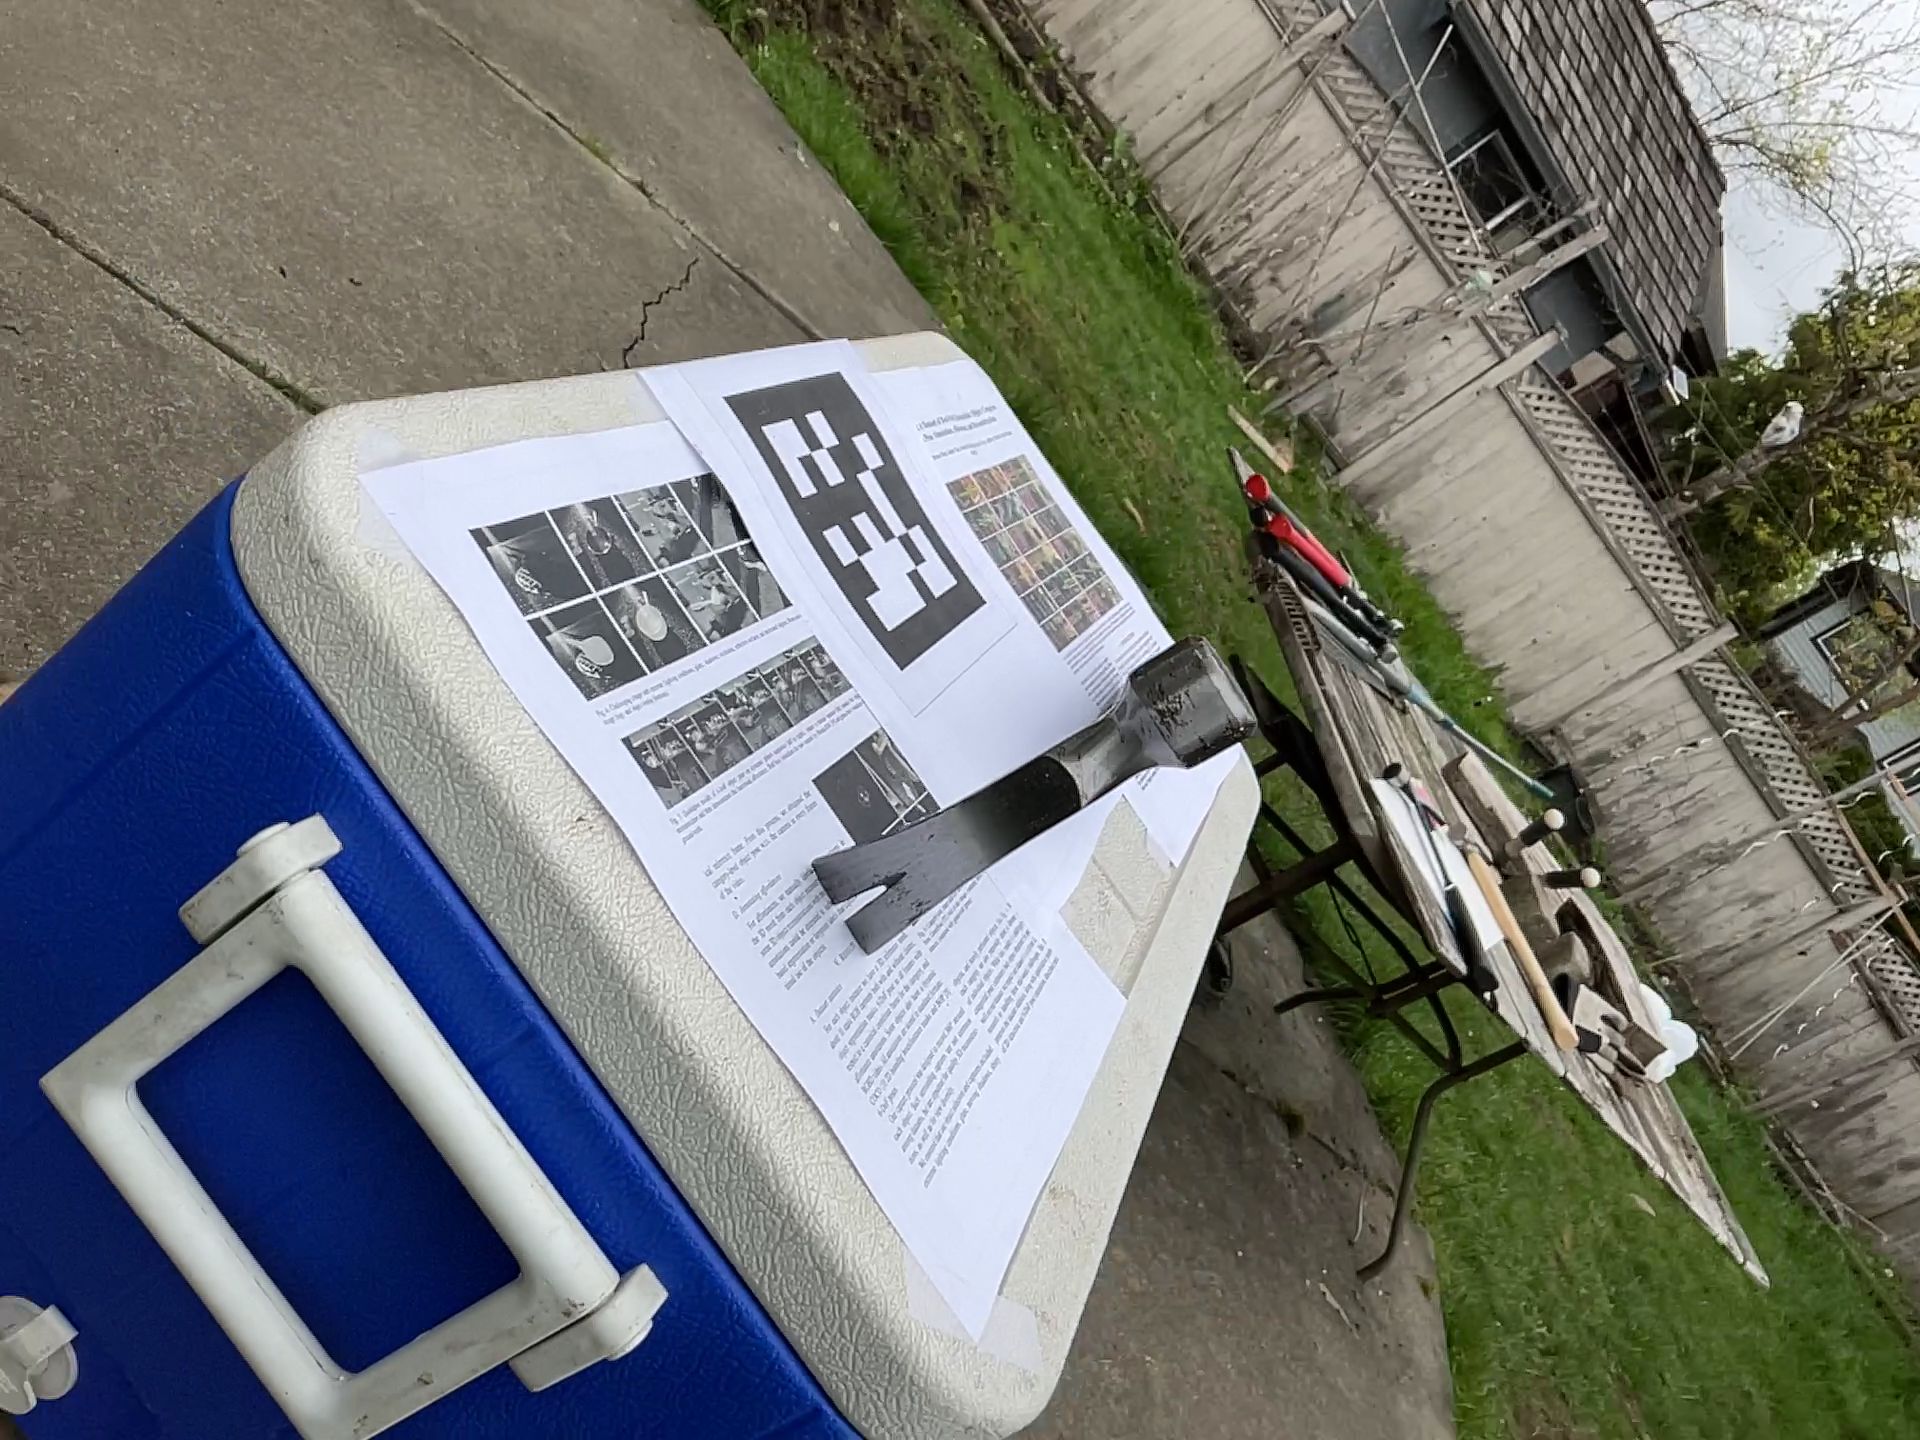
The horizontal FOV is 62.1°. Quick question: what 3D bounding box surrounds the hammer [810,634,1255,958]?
[{"bbox_3d":[0.058,0.006,0.649,0.035,0.144,0.405,59,14,2],"label":"hammer"}]
